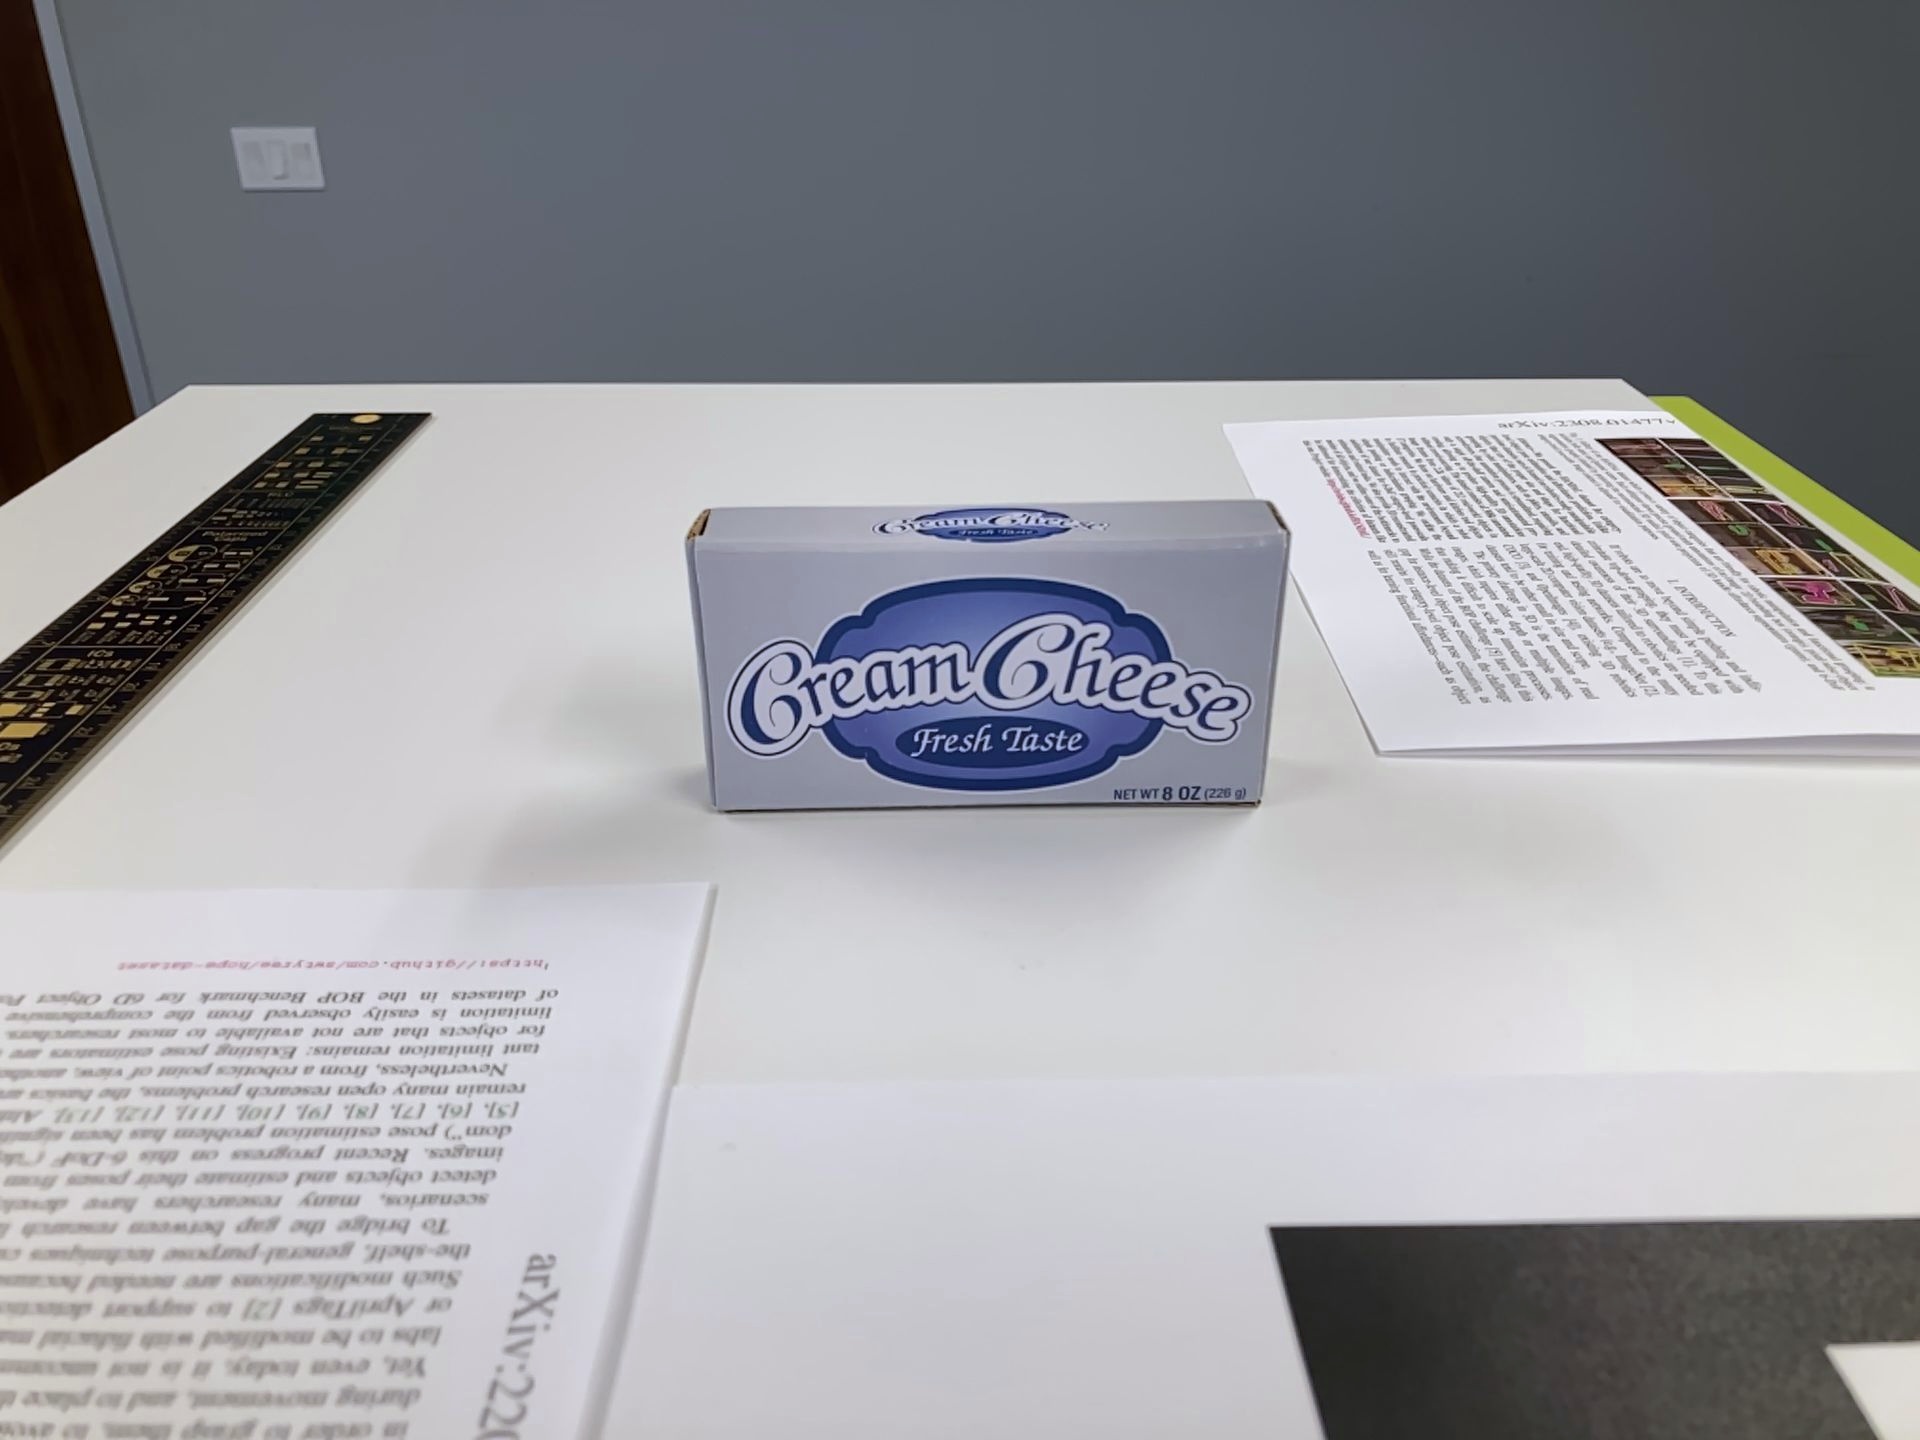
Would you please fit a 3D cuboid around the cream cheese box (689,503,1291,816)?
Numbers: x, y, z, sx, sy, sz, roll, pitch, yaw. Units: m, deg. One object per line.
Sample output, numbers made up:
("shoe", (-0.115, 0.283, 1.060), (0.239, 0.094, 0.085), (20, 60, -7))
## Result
("cream cheese box", (0.005, -0.011, 0.290), (0.104, 0.053, 0.024), (-1, 25, -1))
